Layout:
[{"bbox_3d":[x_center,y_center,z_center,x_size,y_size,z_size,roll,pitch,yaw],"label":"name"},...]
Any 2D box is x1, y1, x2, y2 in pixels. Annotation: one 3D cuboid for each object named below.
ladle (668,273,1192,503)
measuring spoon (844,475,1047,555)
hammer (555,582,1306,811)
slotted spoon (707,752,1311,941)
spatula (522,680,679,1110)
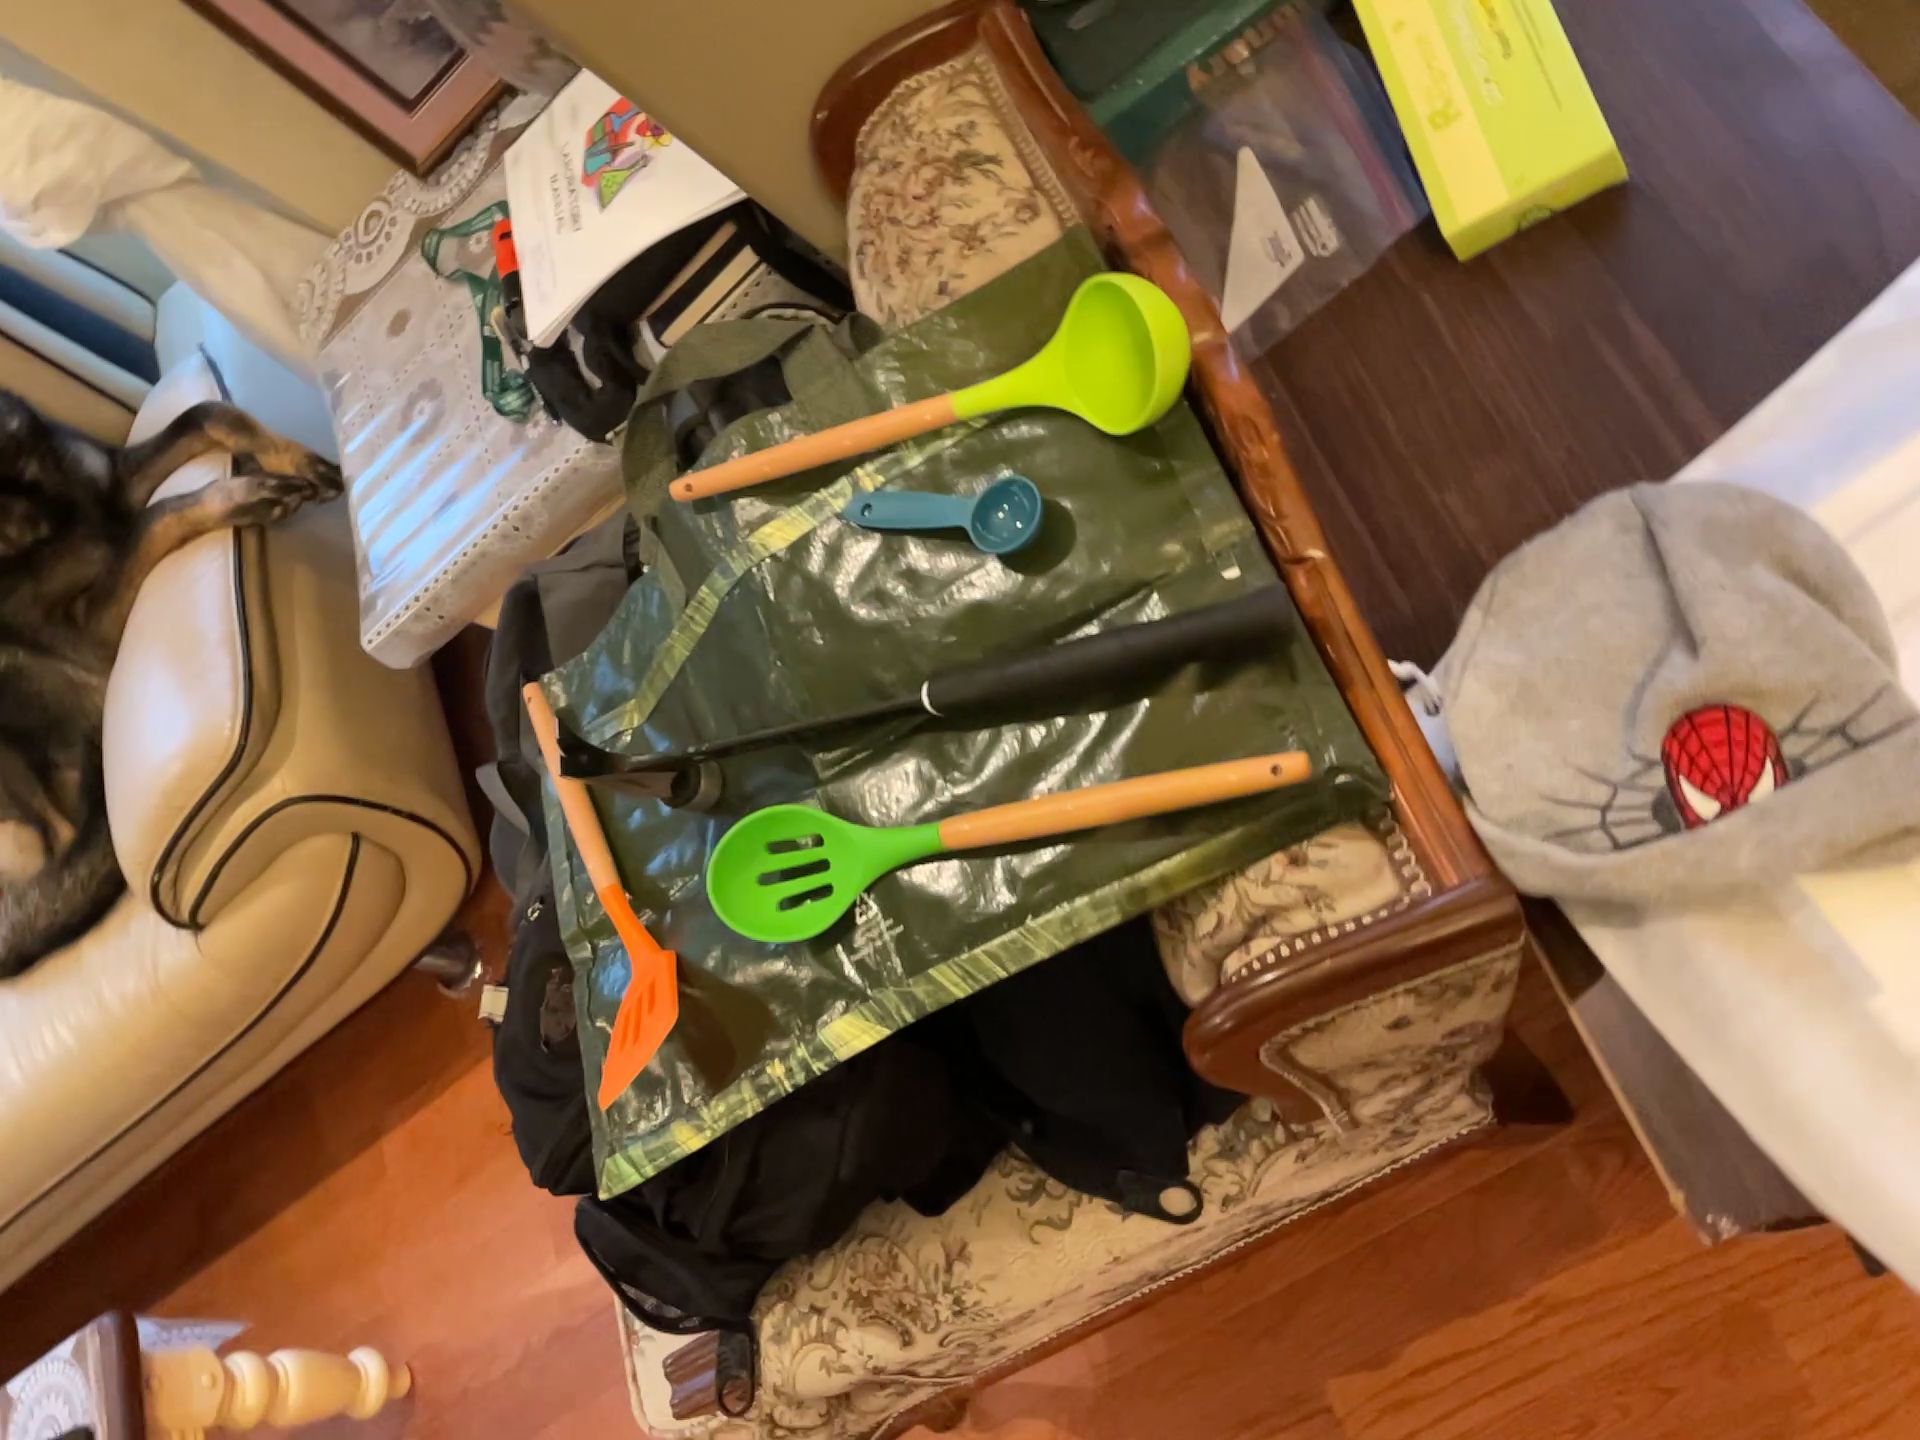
[{"bbox_3d":[-0.029,-0.159,0.840,0.320,0.062,0.078,-12,93,25],"label":"ladle"},{"bbox_3d":[-0.007,-0.107,0.831,0.129,0.021,0.042,8,78,36],"label":"measuring spoon"},{"bbox_3d":[-0.023,-0.010,0.810,0.409,0.149,0.036,-13,76,25],"label":"hammer"},{"bbox_3d":[0.016,0.054,0.777,0.314,0.031,0.070,-13,82,22],"label":"slotted spoon"},{"bbox_3d":[-0.228,0.085,0.968,0.081,0.041,0.323,-49,50,22],"label":"spatula"}]
